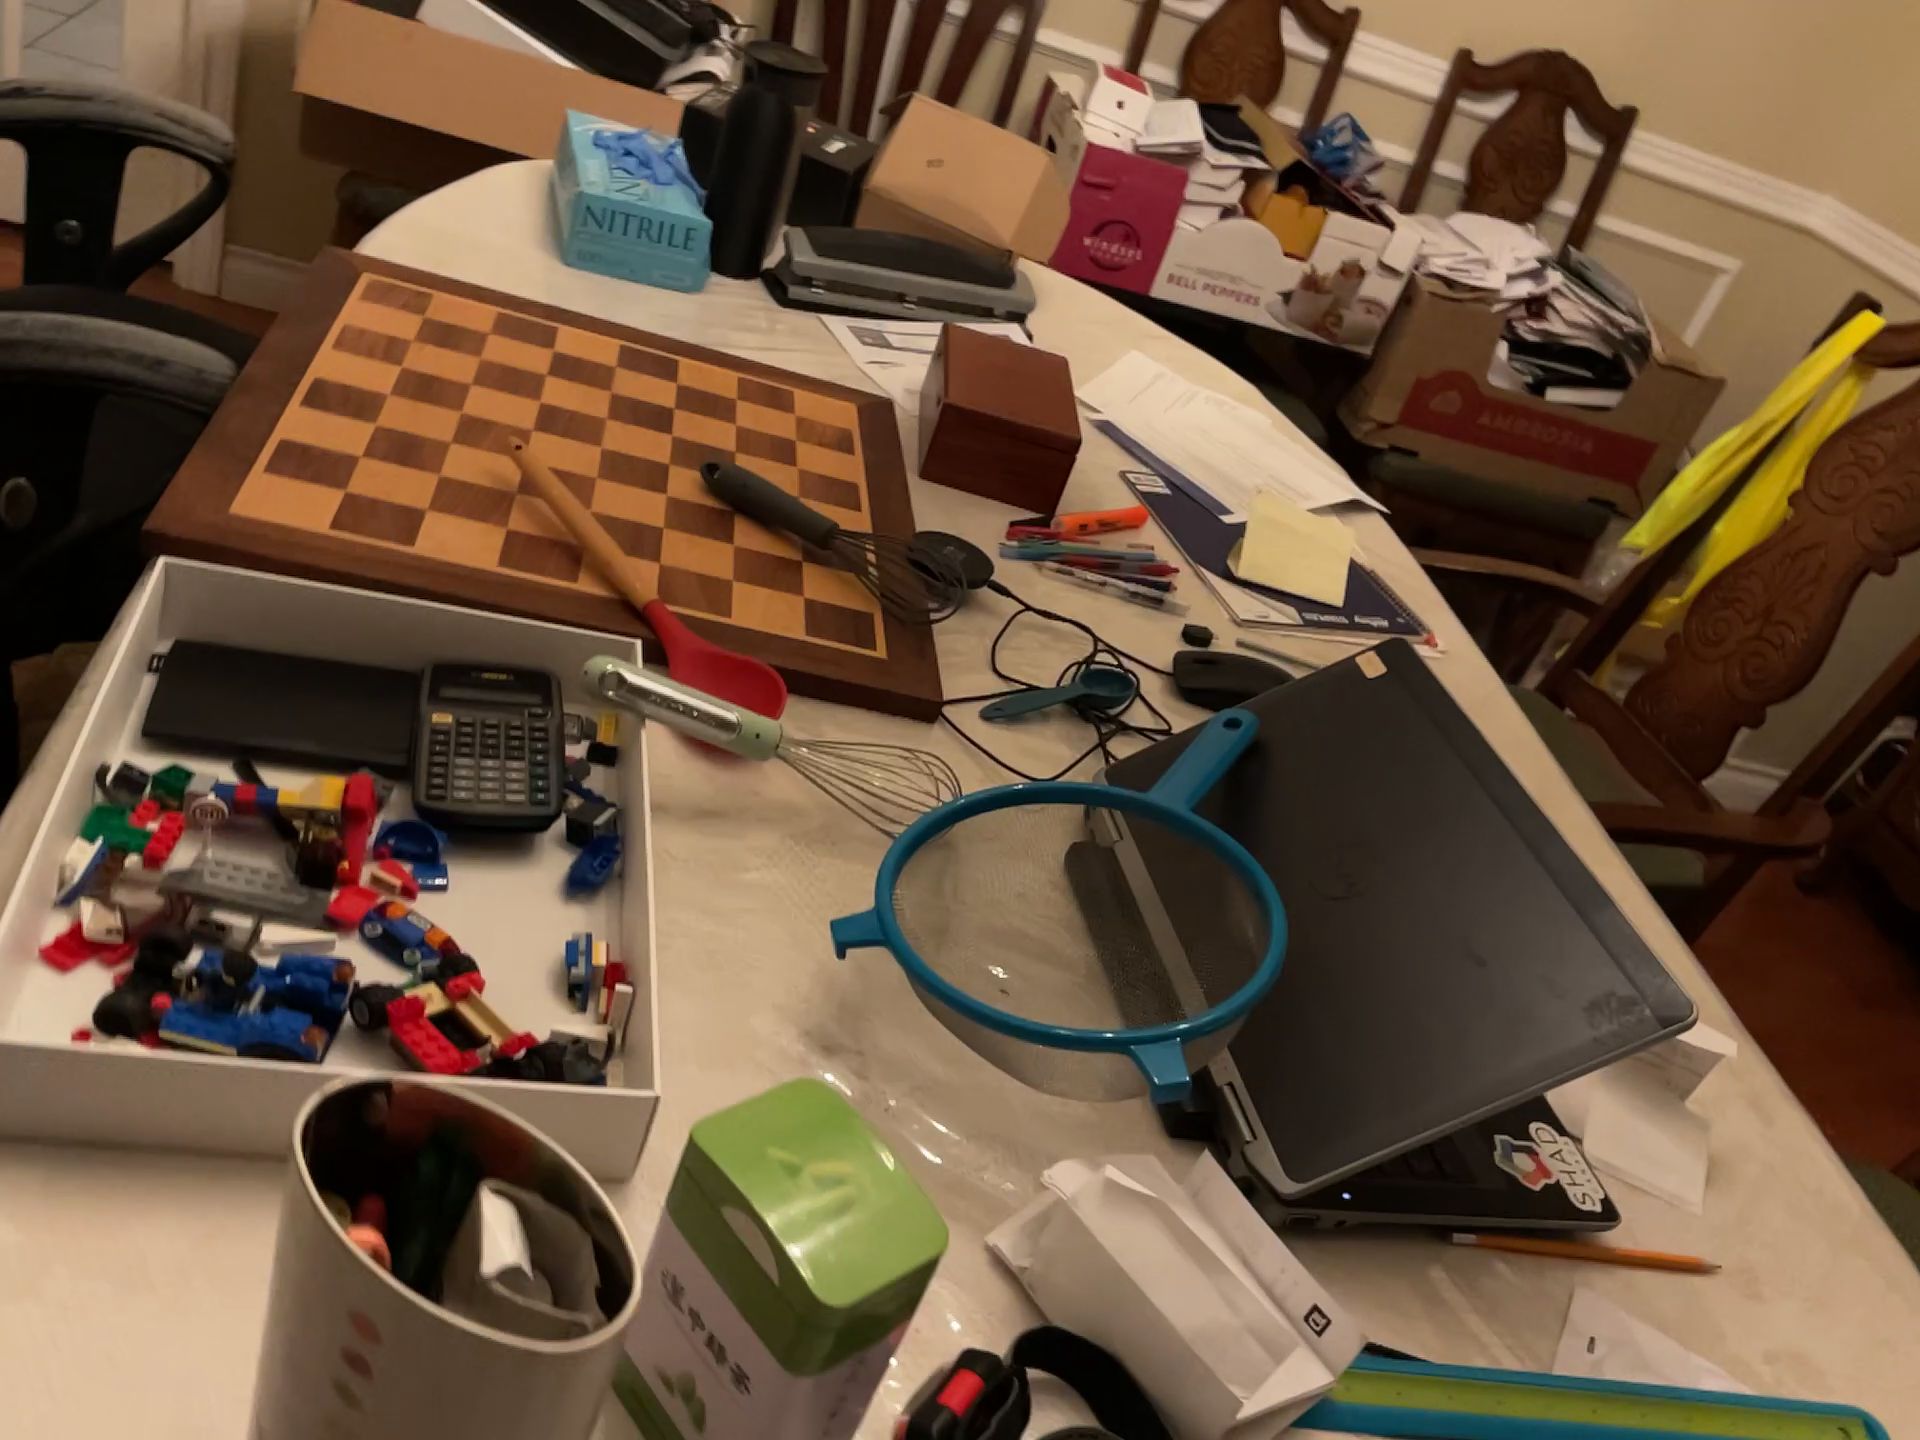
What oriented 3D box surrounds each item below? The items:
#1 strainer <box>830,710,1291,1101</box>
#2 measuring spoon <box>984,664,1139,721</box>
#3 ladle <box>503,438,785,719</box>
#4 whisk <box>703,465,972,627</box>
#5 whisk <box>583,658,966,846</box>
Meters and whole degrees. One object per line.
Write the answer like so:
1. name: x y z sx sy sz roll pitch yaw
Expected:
1. strainer: 0.091 0.100 0.878 0.211 0.095 0.340 20 34 23
2. measuring spoon: 0.071 -0.011 1.124 0.128 0.021 0.042 -16 38 -29
3. ladle: -0.216 -0.091 1.032 0.069 0.031 0.316 -29 59 -26
4. whisk: -0.093 -0.132 1.160 0.239 0.055 0.055 29 18 20
5. whisk: -0.099 0.017 0.908 0.246 0.058 0.059 22 -2 -25
